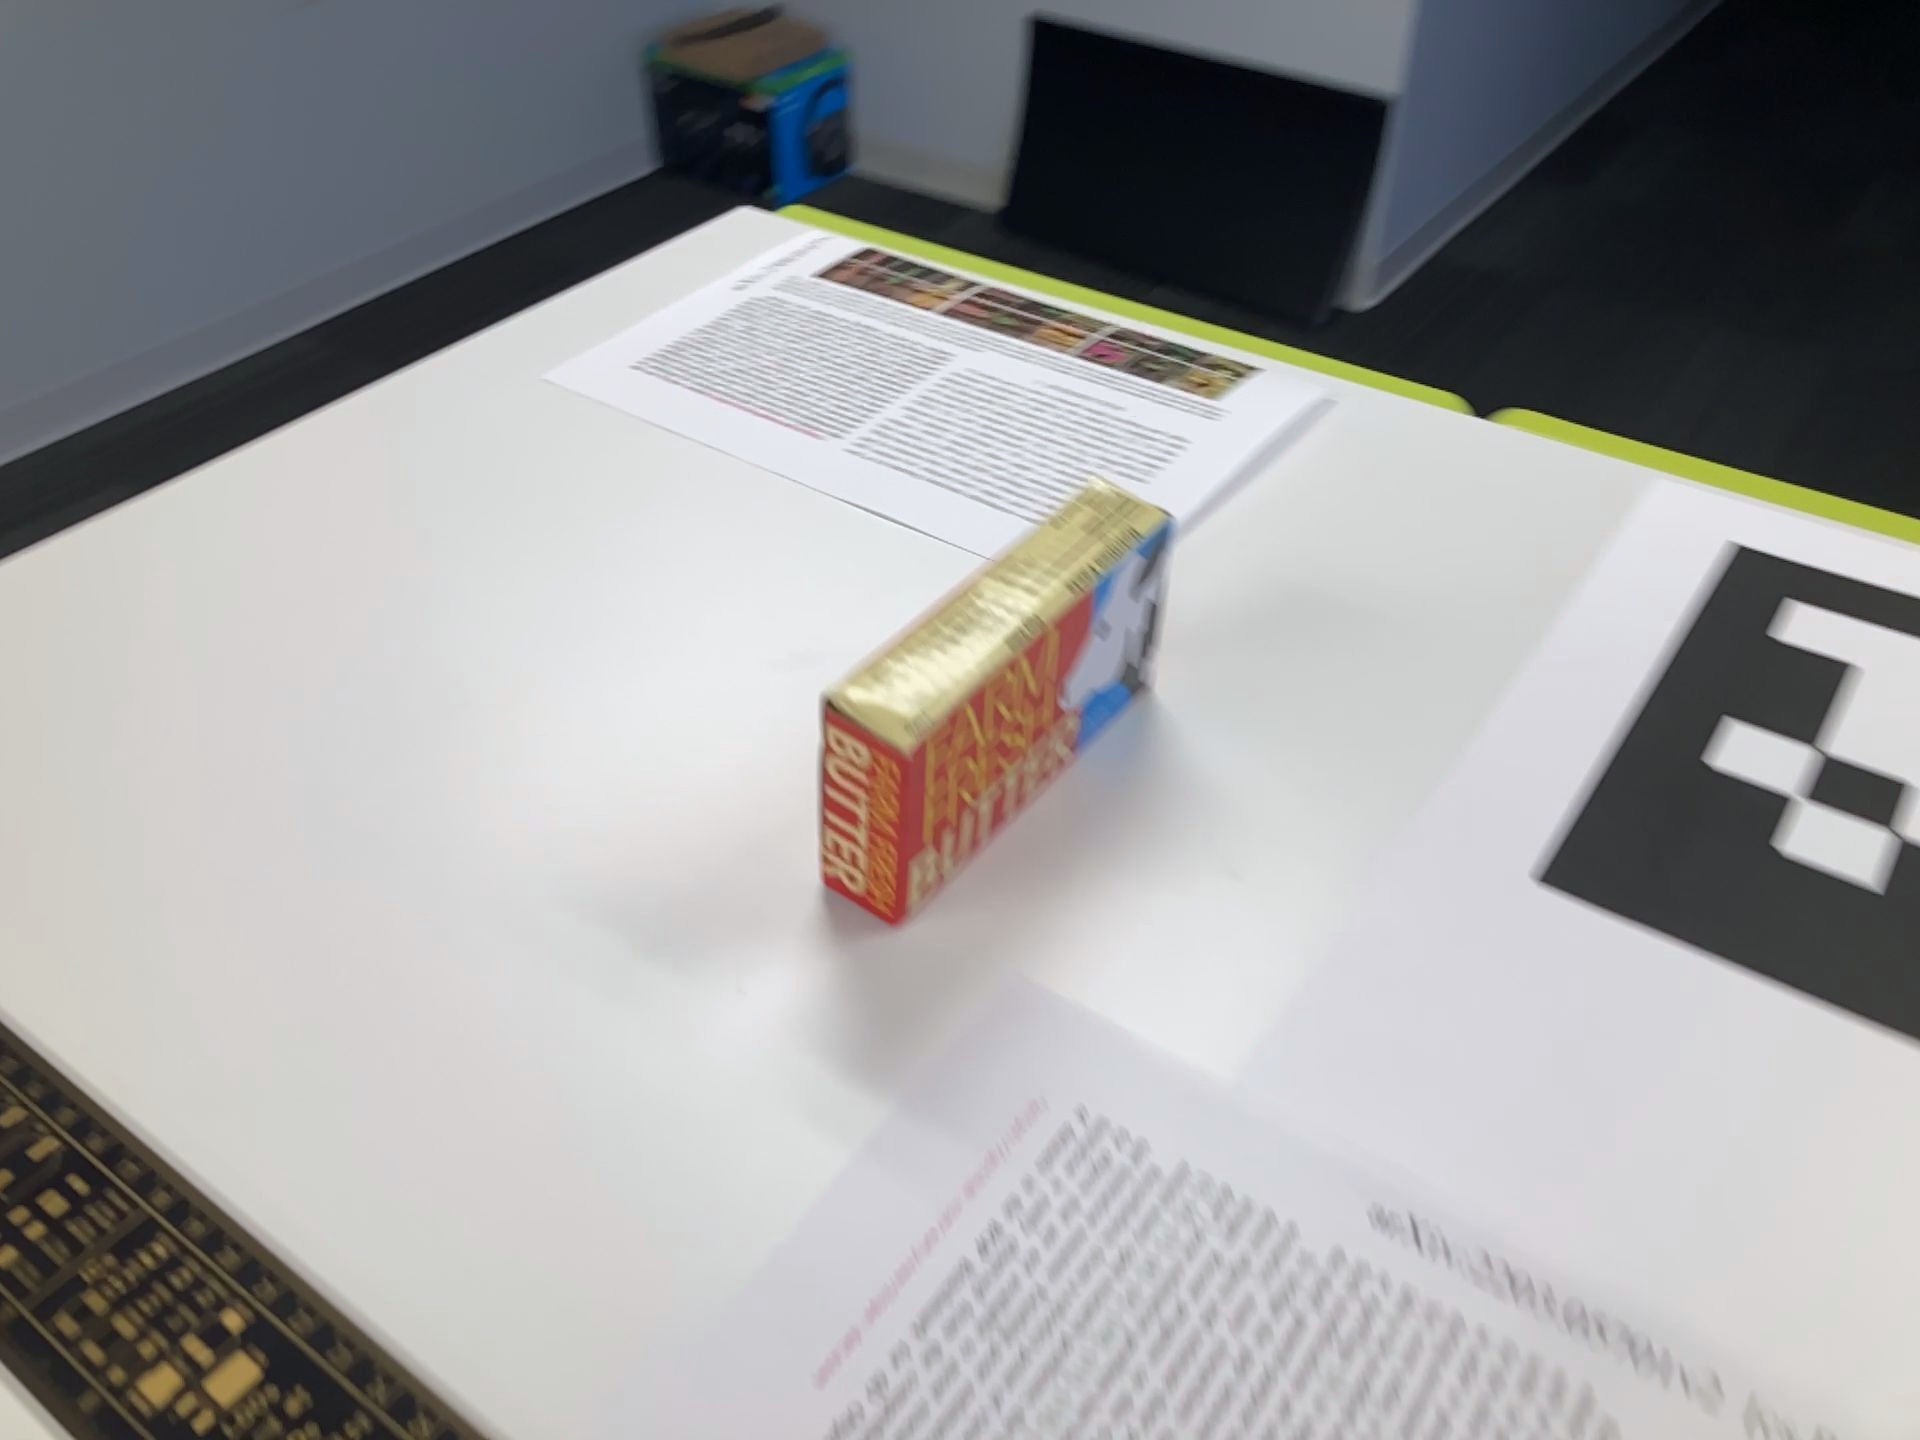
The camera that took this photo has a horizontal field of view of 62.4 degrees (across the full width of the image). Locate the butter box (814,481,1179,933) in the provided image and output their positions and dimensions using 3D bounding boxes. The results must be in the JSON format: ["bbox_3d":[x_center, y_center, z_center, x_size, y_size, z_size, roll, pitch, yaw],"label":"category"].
[{"bbox_3d":[0.009,-0.005,0.344,0.024,0.053,0.103,27,47,25],"label":"butter box"}]
